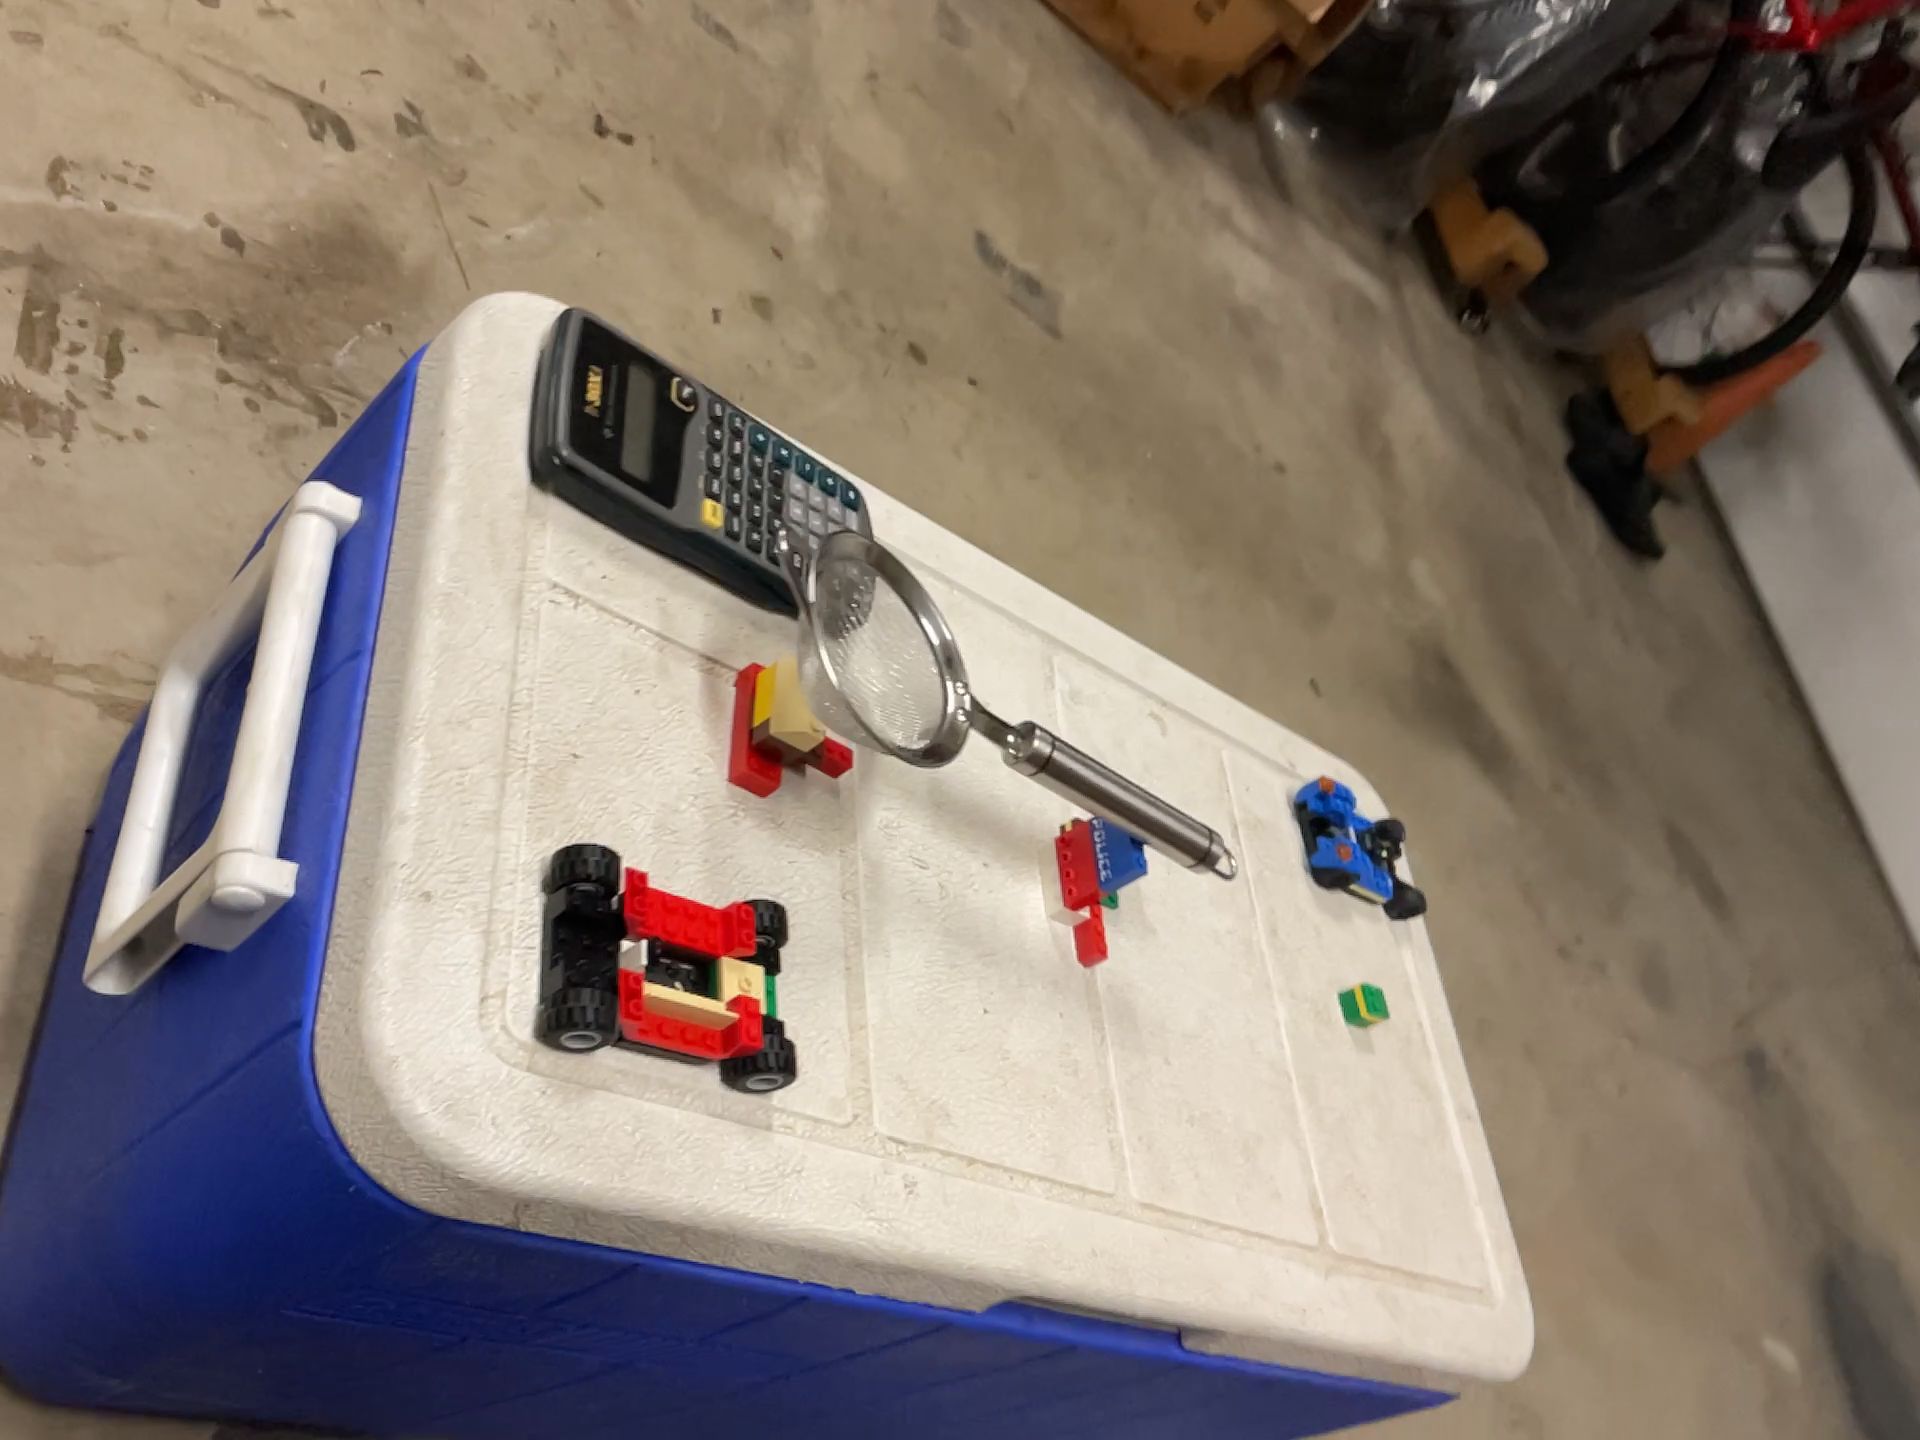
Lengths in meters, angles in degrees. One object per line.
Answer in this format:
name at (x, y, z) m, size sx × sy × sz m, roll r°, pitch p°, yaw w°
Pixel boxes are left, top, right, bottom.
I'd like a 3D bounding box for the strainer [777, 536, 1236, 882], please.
strainer at (0.019, 0.010, 0.582) m, size 0.258 × 0.050 × 0.087 m, roll 30°, pitch 43°, yaw -34°
